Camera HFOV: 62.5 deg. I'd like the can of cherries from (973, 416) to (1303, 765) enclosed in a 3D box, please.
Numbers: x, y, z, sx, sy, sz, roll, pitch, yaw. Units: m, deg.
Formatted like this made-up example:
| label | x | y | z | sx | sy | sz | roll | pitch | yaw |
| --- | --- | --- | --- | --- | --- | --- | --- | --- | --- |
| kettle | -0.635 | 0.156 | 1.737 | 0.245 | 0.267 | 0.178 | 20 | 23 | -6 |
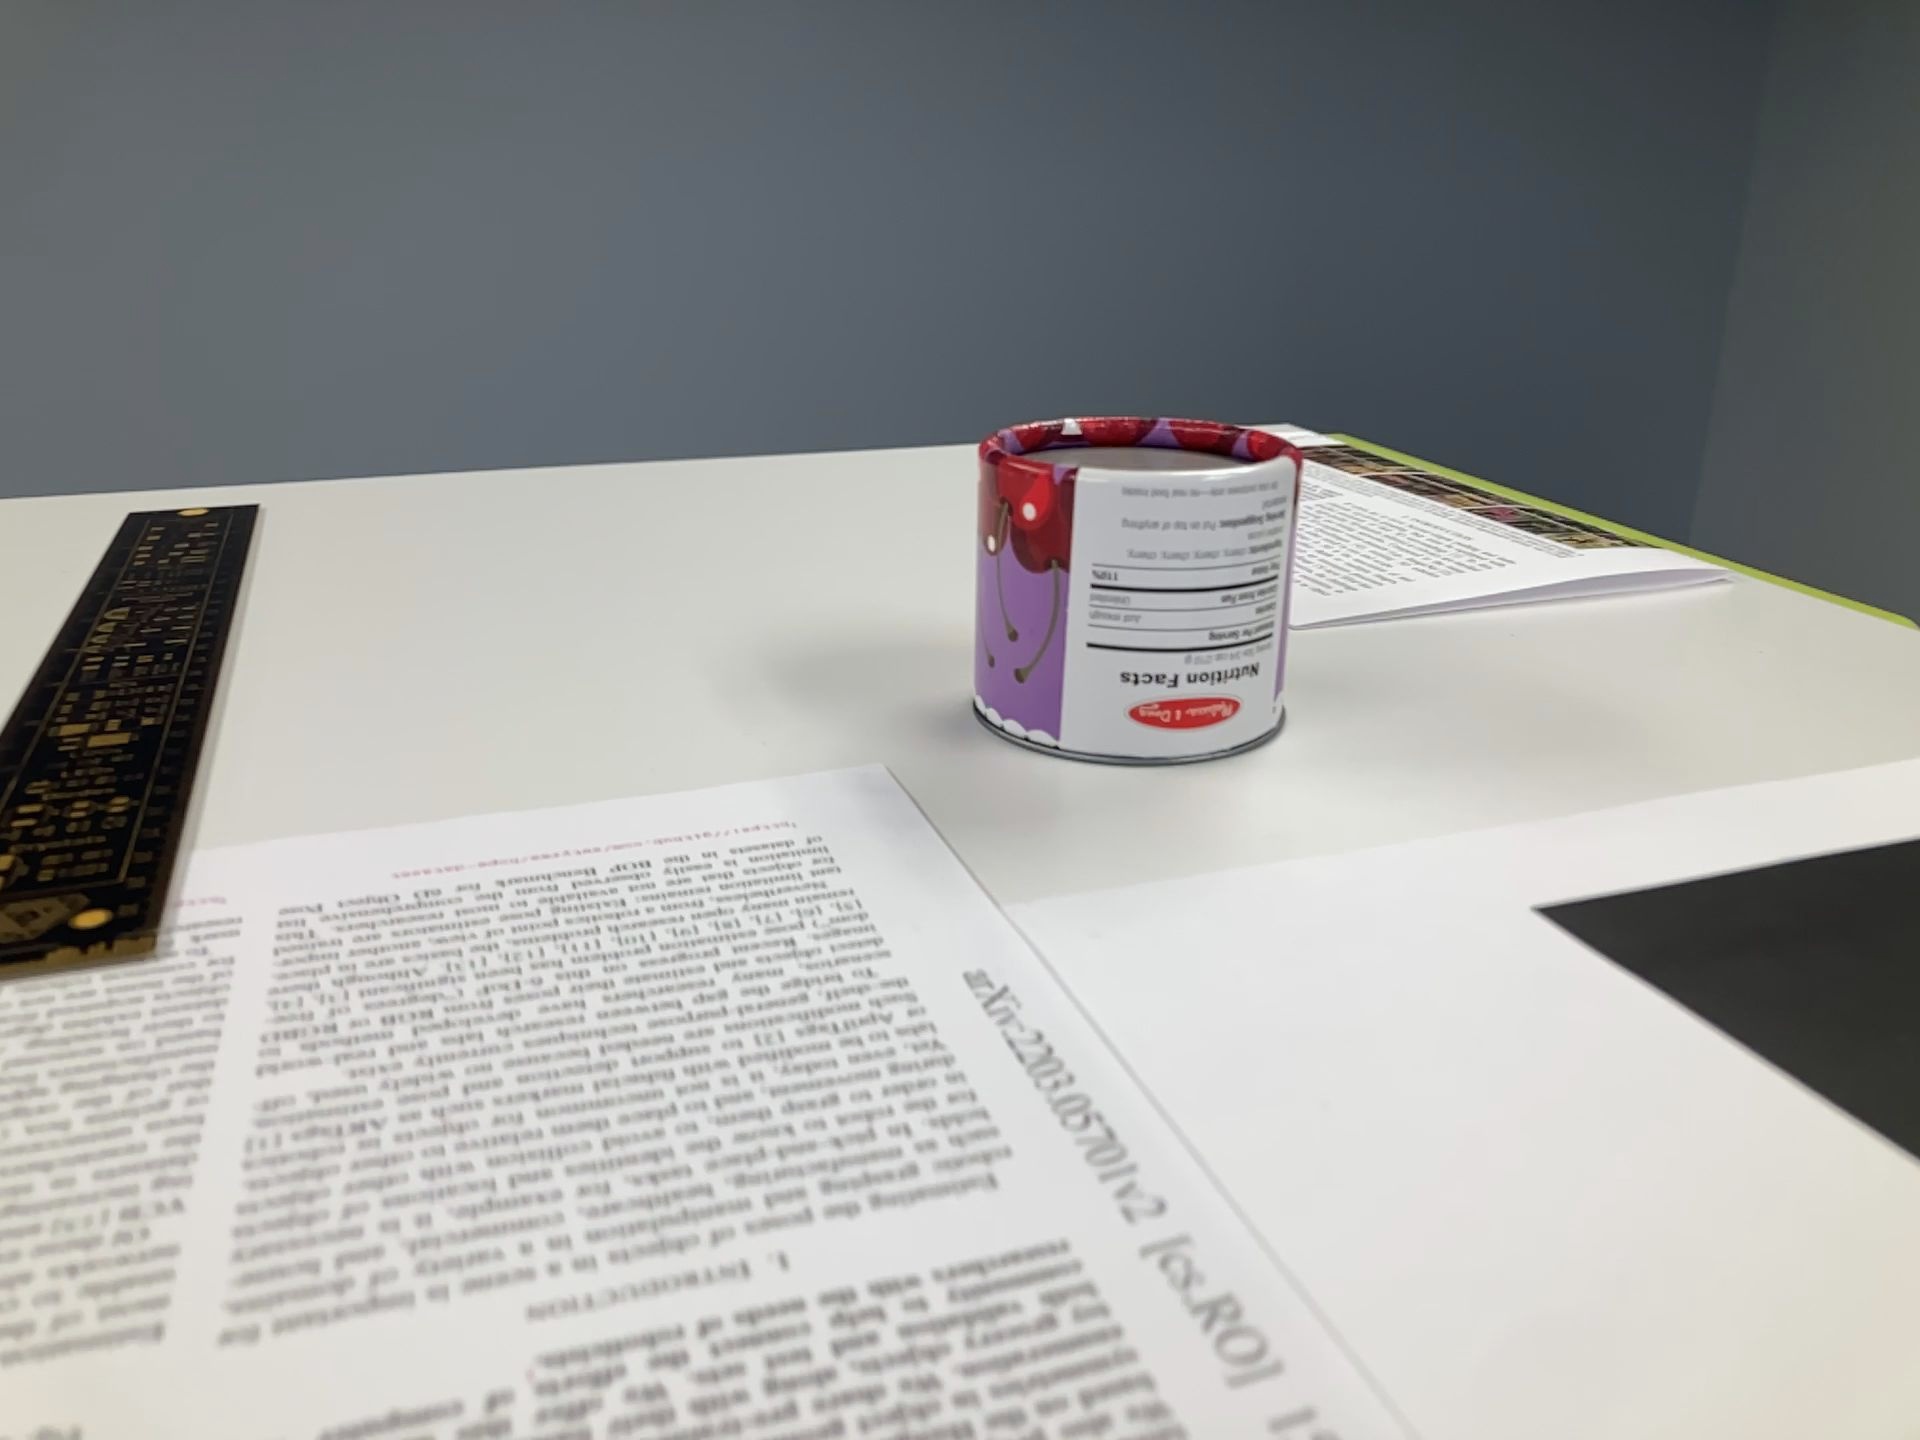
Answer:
| label | x | y | z | sx | sy | sz | roll | pitch | yaw |
| --- | --- | --- | --- | --- | --- | --- | --- | --- | --- |
| can of cherries | 0.034 | -0.030 | 0.329 | 0.071 | 0.058 | 0.071 | 0 | 20 | 0 |
